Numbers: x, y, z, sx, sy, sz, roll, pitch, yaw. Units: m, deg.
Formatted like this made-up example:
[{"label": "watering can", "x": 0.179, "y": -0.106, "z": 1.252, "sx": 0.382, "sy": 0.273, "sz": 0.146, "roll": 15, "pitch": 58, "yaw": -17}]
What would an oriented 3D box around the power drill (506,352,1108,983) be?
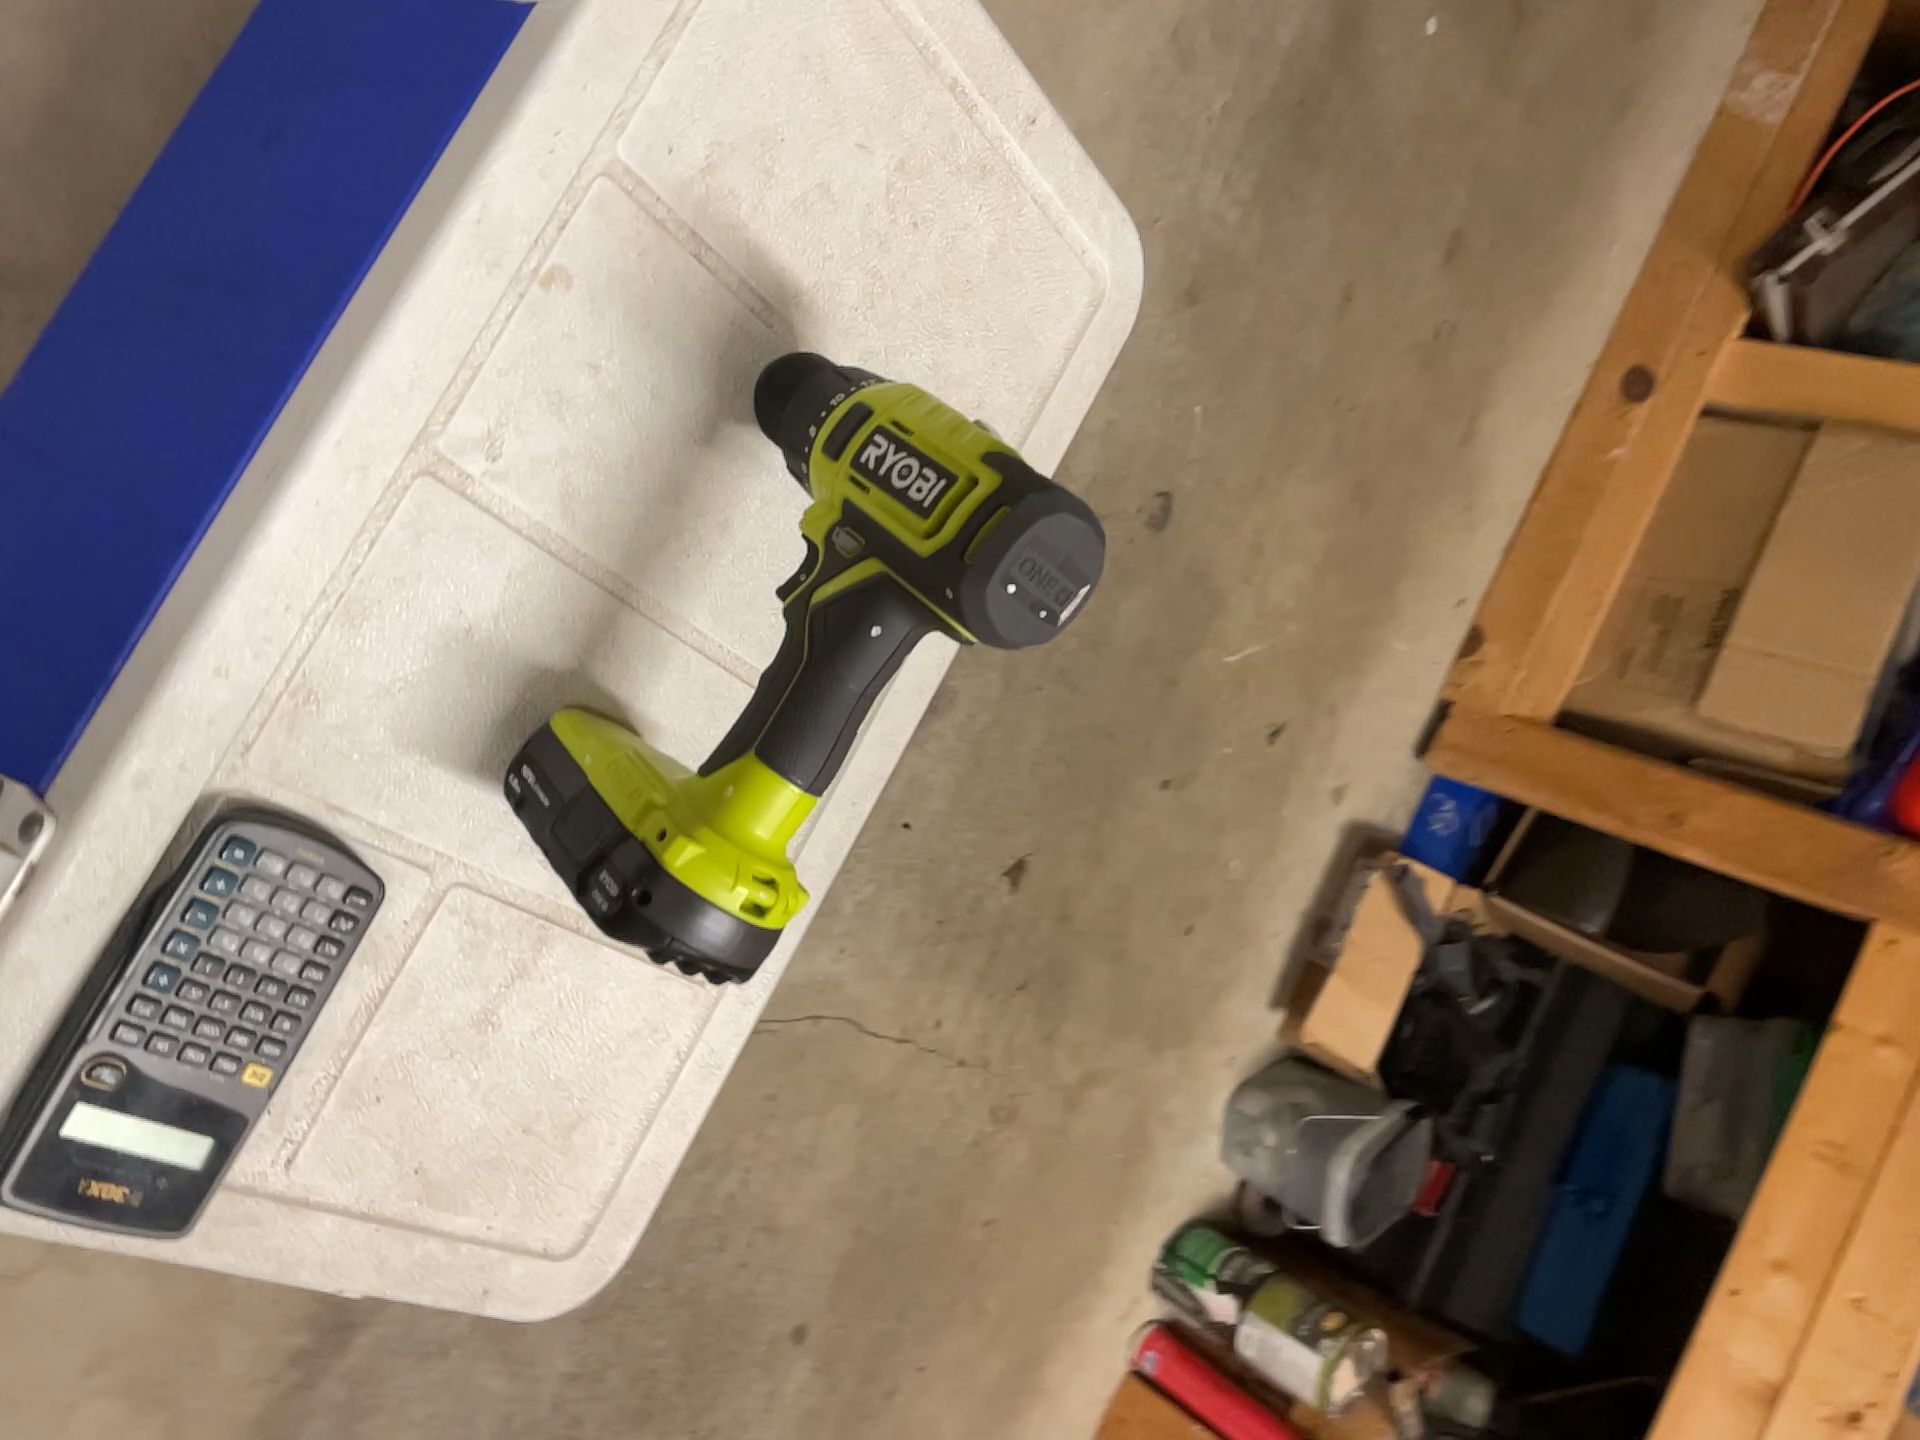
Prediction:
[{"label": "power drill", "x": -0.071, "y": -0.033, "z": 0.626, "sx": 0.228, "sy": 0.190, "sz": 0.080, "roll": -52, "pitch": 139, "yaw": 3}]
